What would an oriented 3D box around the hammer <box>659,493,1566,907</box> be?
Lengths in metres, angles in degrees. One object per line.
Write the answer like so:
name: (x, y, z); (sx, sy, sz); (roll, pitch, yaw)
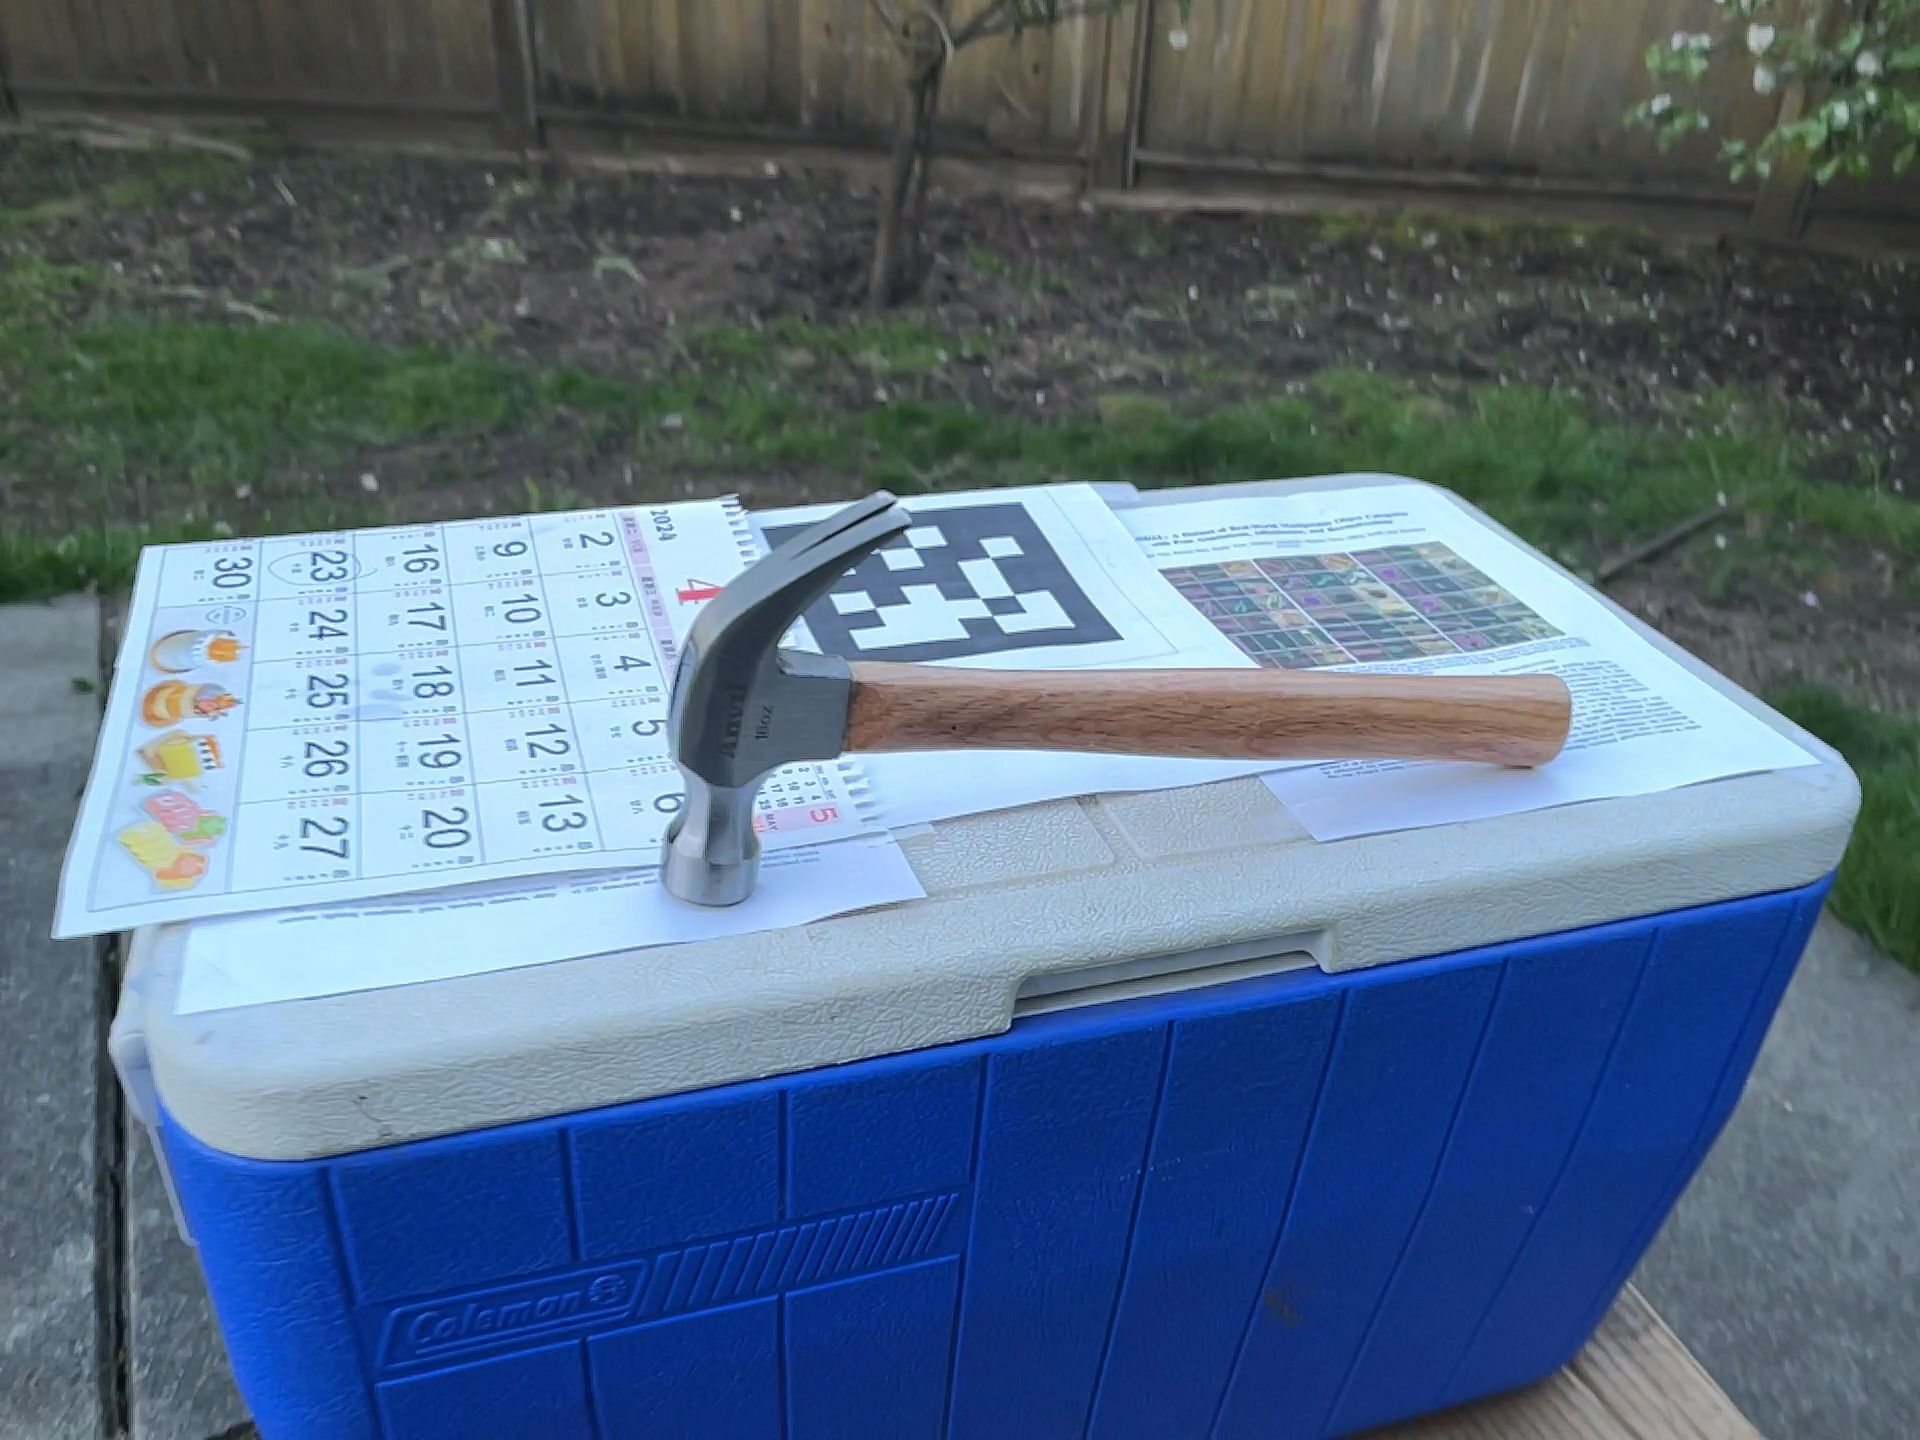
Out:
hammer: (0.068, -0.004, 0.525); (0.331, 0.130, 0.031); (1, 25, -22)
